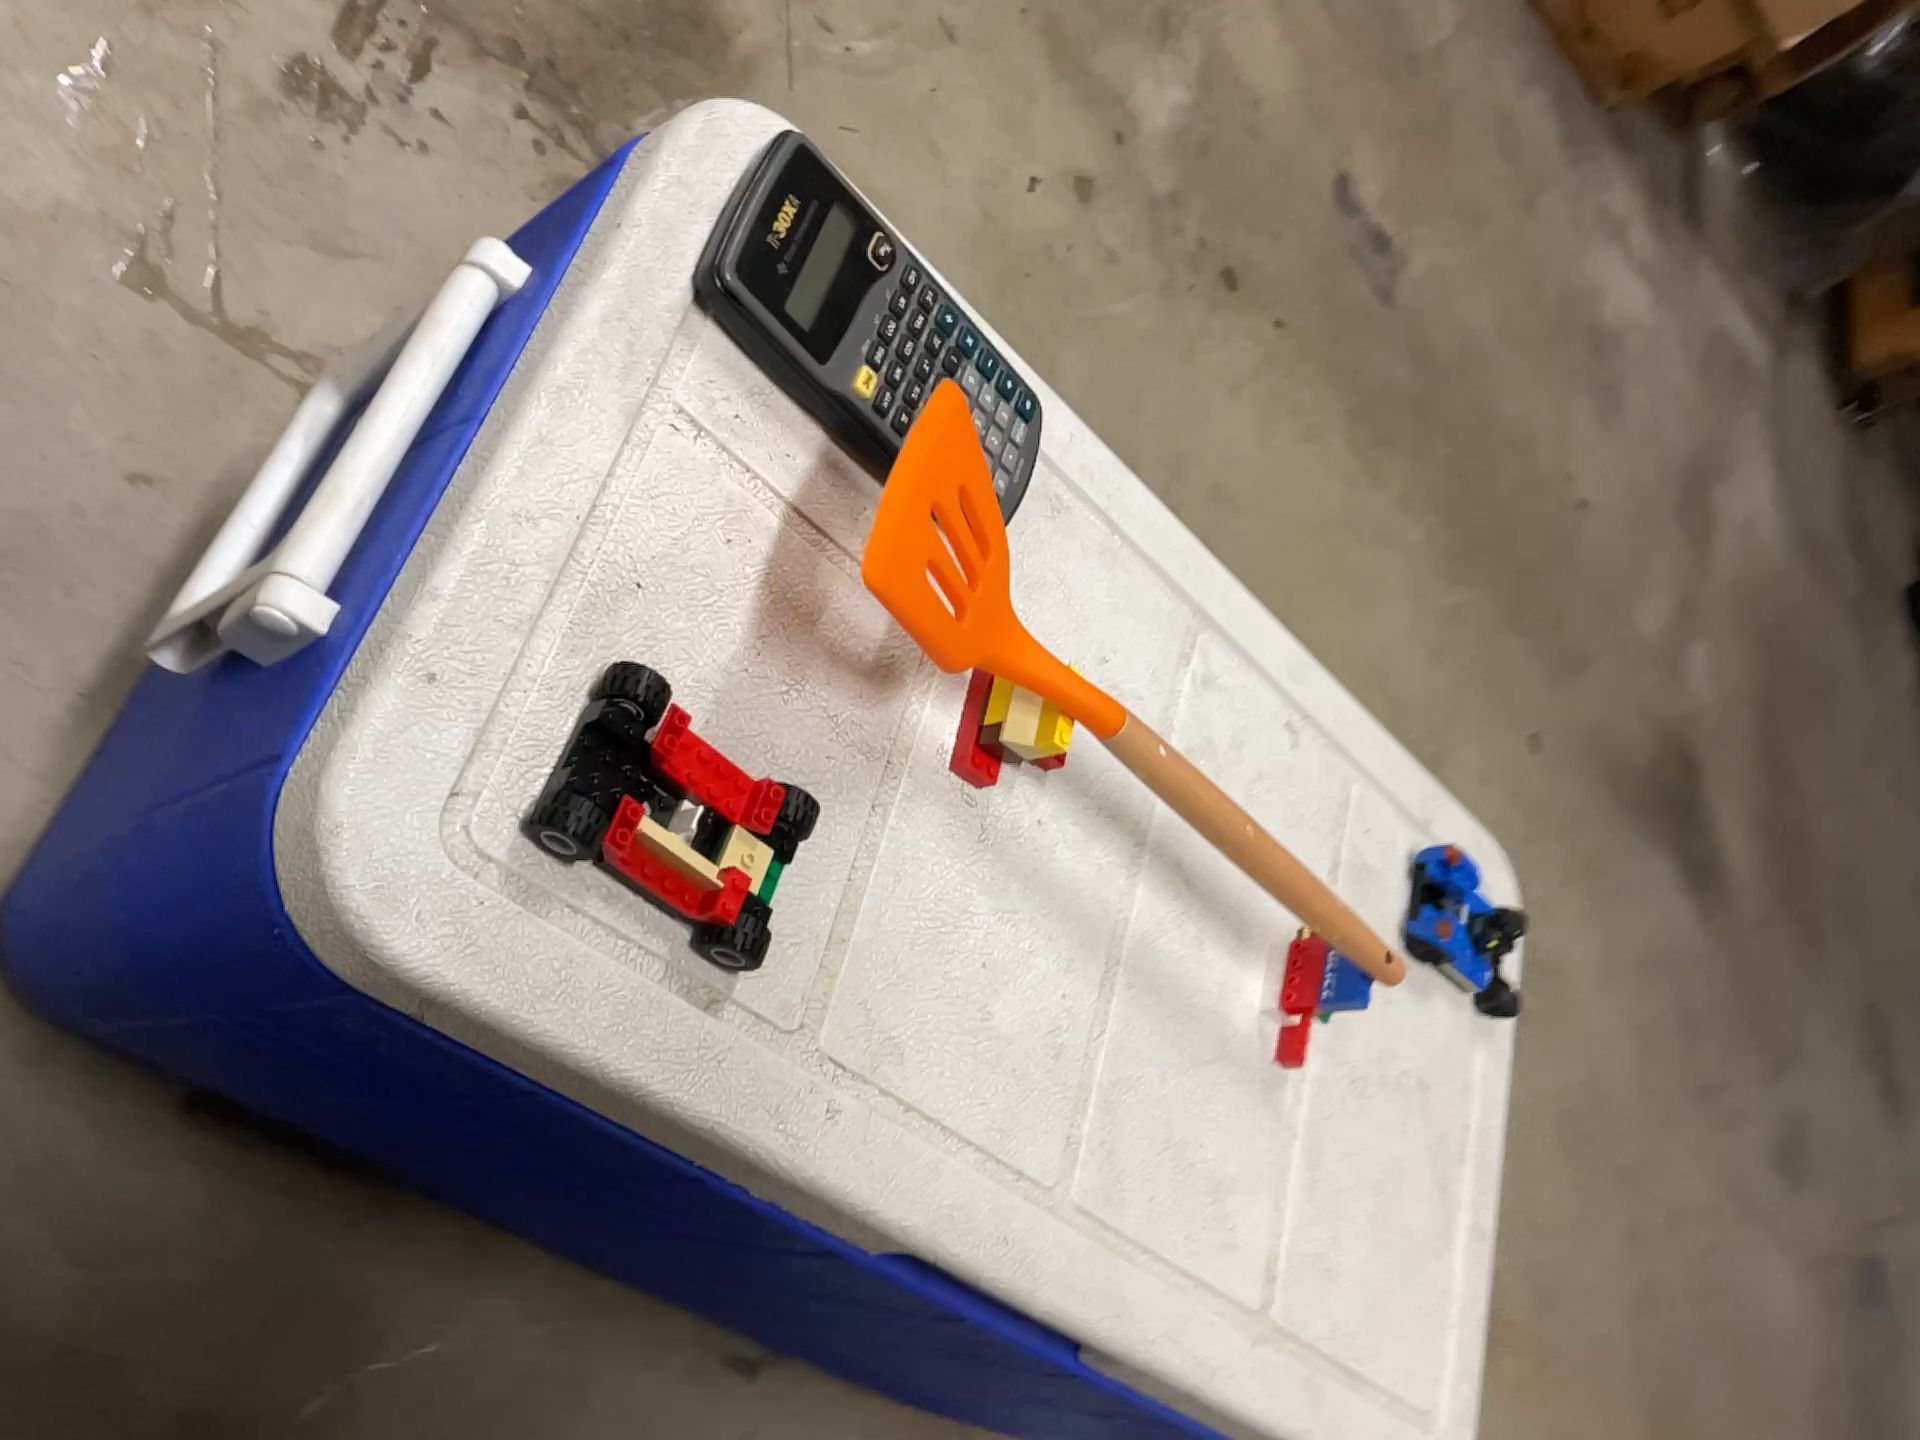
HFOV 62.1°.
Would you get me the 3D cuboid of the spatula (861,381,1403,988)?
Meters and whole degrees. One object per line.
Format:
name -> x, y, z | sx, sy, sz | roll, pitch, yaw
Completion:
spatula -> 0.075, 0.014, 0.569 | 0.322, 0.041, 0.081 | 40, 56, -30
